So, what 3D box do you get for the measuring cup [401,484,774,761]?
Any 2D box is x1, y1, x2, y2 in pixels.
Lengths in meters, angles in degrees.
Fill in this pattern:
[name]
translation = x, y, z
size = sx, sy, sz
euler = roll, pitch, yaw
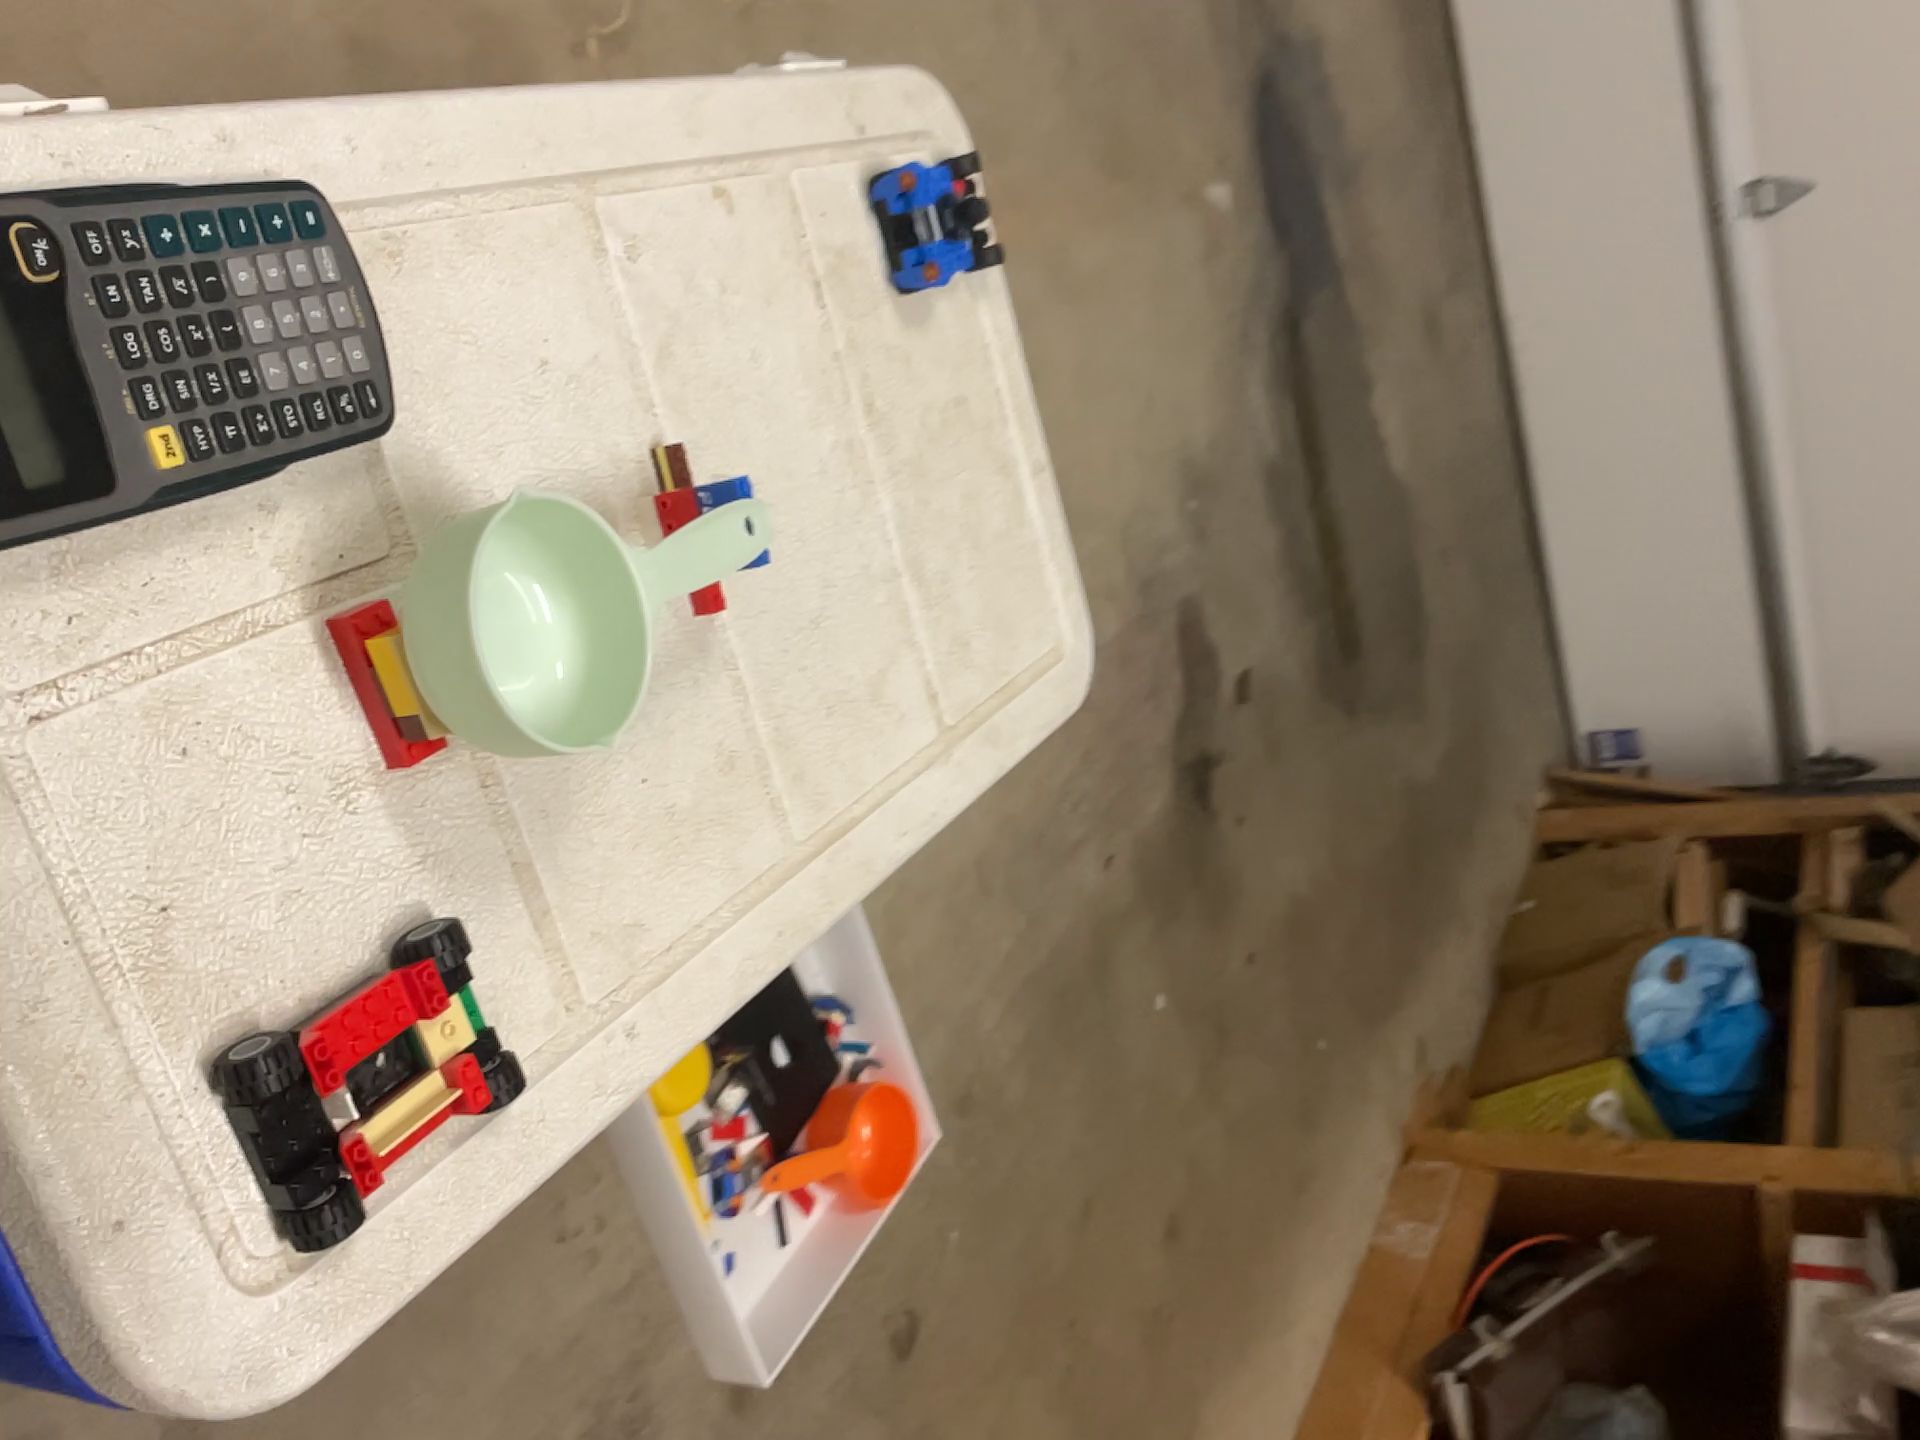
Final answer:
[measuring cup]
translation = -0.111, -0.042, 0.506
size = 0.168, 0.038, 0.083
euler = -46, 122, -59
